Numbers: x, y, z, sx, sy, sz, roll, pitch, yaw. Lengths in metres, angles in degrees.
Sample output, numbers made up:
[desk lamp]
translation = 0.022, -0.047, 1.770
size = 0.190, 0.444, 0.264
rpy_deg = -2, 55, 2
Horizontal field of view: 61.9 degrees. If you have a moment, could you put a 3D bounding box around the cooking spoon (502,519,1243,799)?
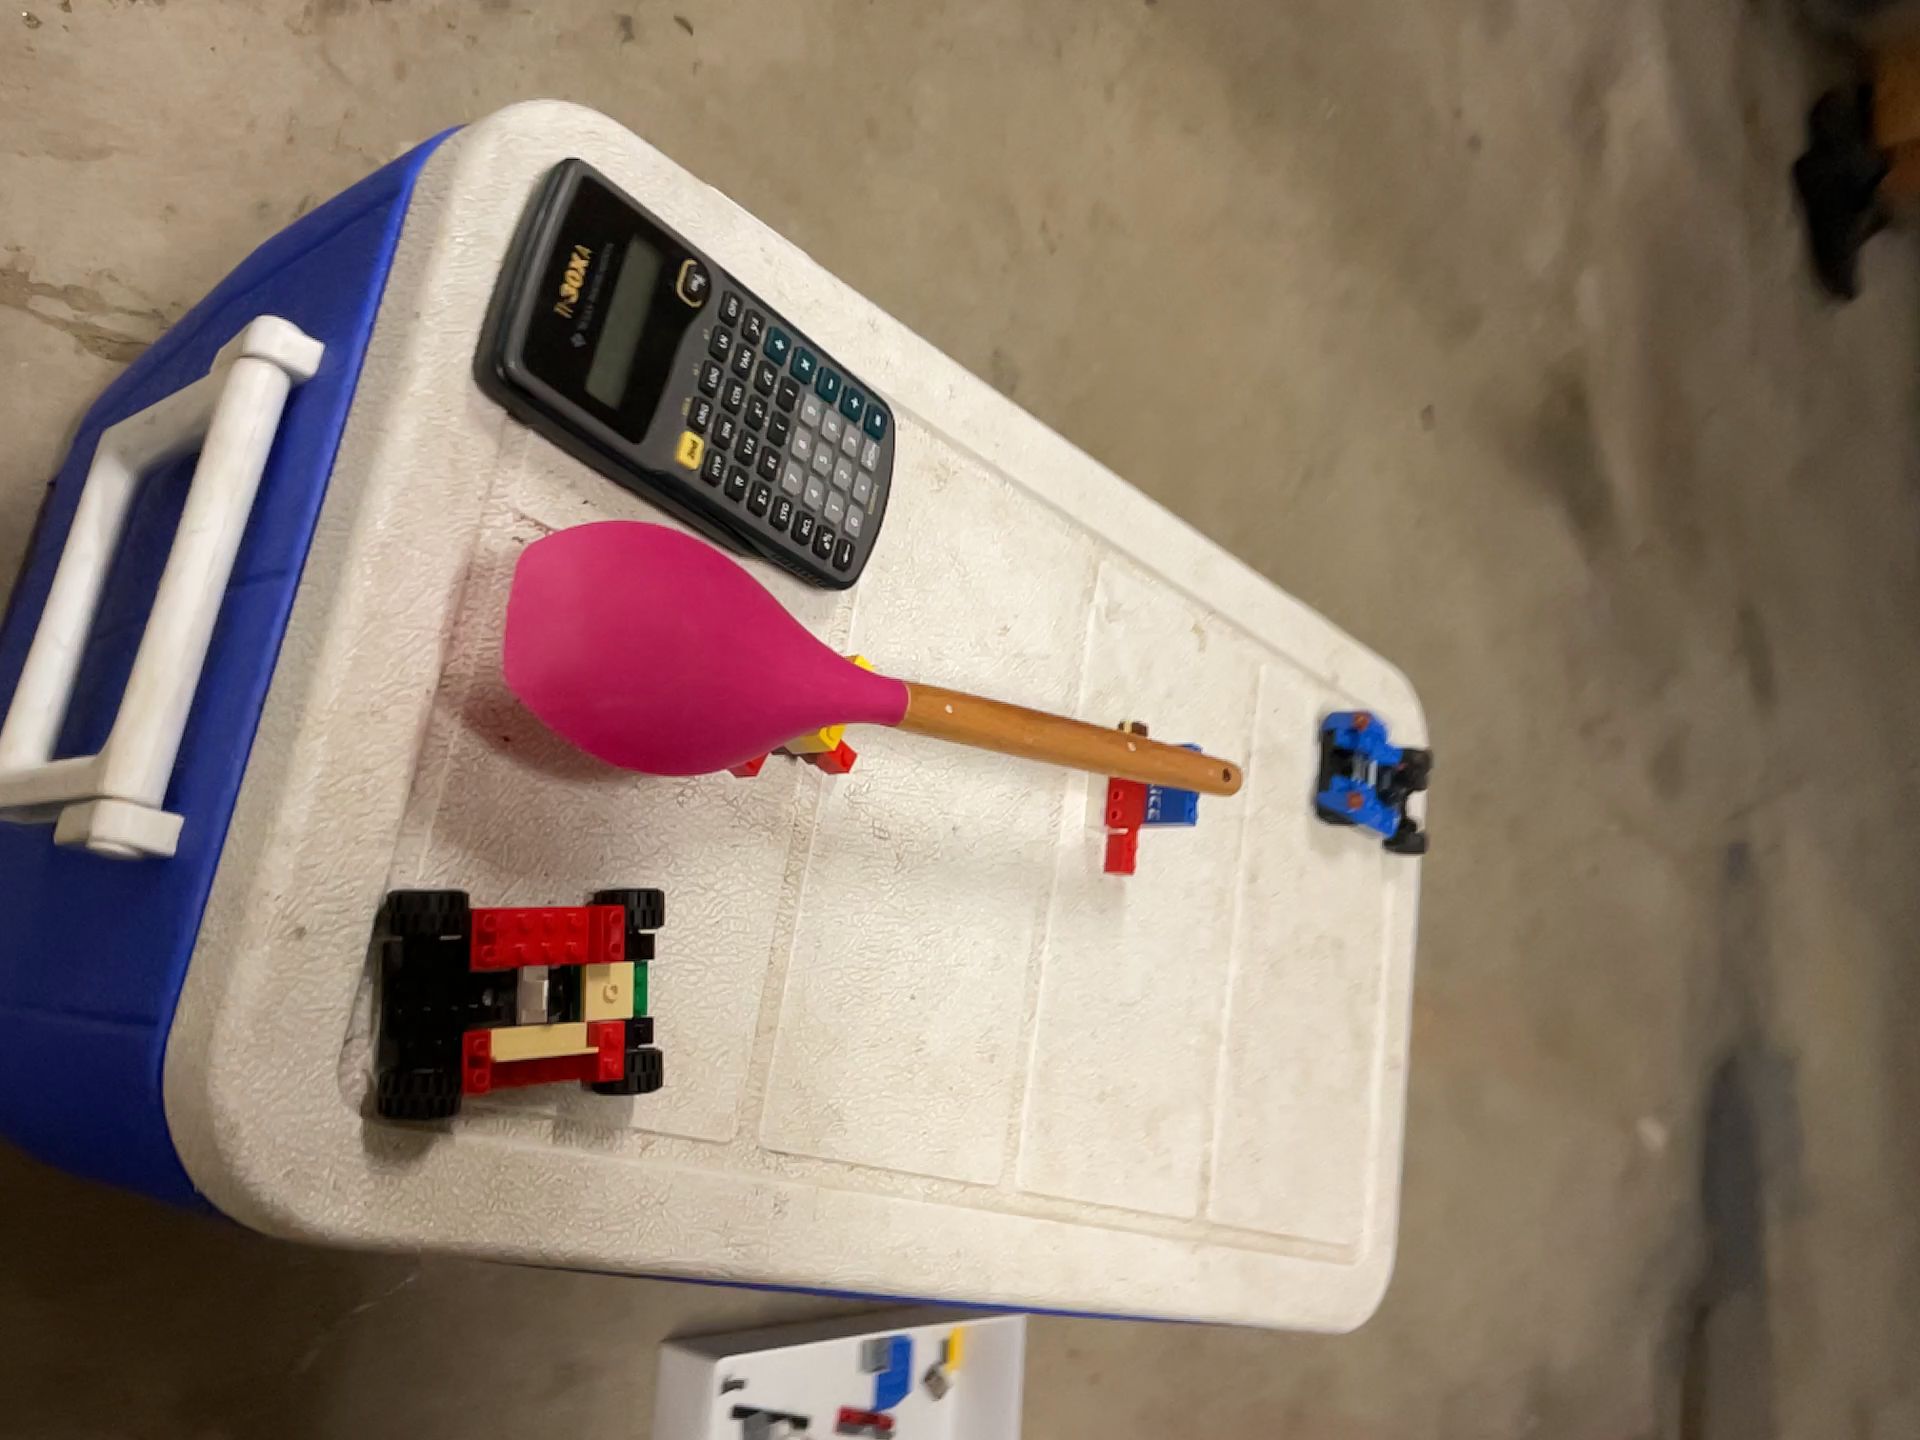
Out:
[cooking spoon]
translation = -0.003, -0.002, 0.515
size = 0.319, 0.017, 0.069
rpy_deg = 13, 80, -45
